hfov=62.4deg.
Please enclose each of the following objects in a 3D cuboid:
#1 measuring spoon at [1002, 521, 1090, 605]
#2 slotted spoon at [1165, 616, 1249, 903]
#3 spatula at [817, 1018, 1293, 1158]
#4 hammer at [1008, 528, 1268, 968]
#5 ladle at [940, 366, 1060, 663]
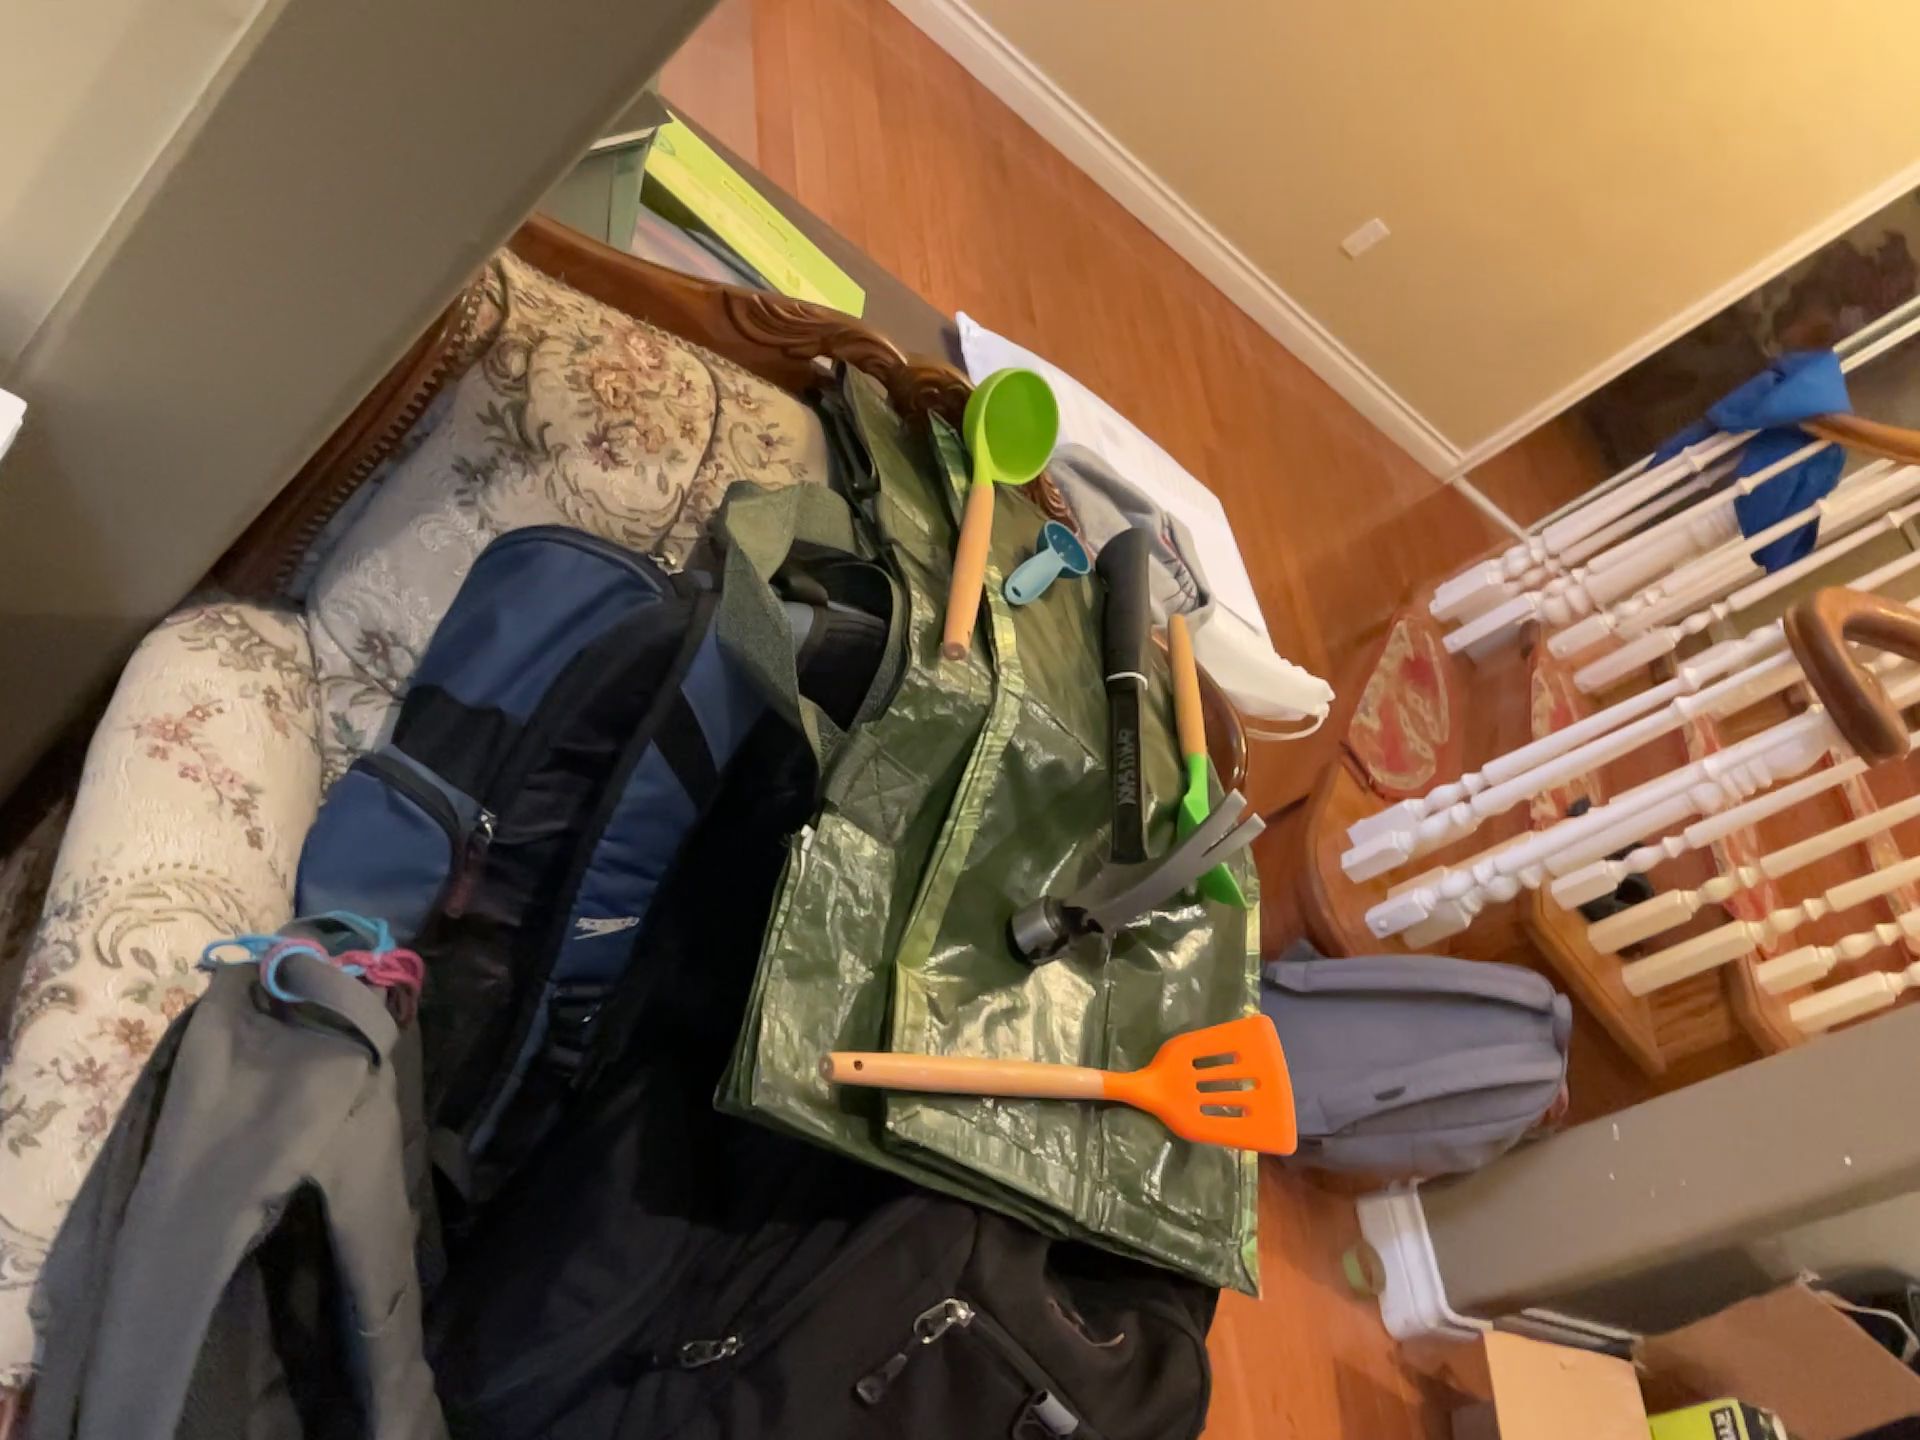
[{"bbox_3d":[0.047,-0.091,0.994,0.042,0.021,0.128,52,32,-3],"label":"measuring spoon"},{"bbox_3d":[0.157,0.015,1.070,0.070,0.031,0.314,56,20,-28],"label":"slotted spoon"},{"bbox_3d":[0.060,0.187,0.829,0.322,0.041,0.081,16,58,-41],"label":"spatula"},{"bbox_3d":[0.110,-0.015,1.009,0.036,0.149,0.409,50,25,-25],"label":"hammer"},{"bbox_3d":[0.022,-0.126,0.956,0.320,0.062,0.078,-81,154,-55],"label":"ladle"}]
